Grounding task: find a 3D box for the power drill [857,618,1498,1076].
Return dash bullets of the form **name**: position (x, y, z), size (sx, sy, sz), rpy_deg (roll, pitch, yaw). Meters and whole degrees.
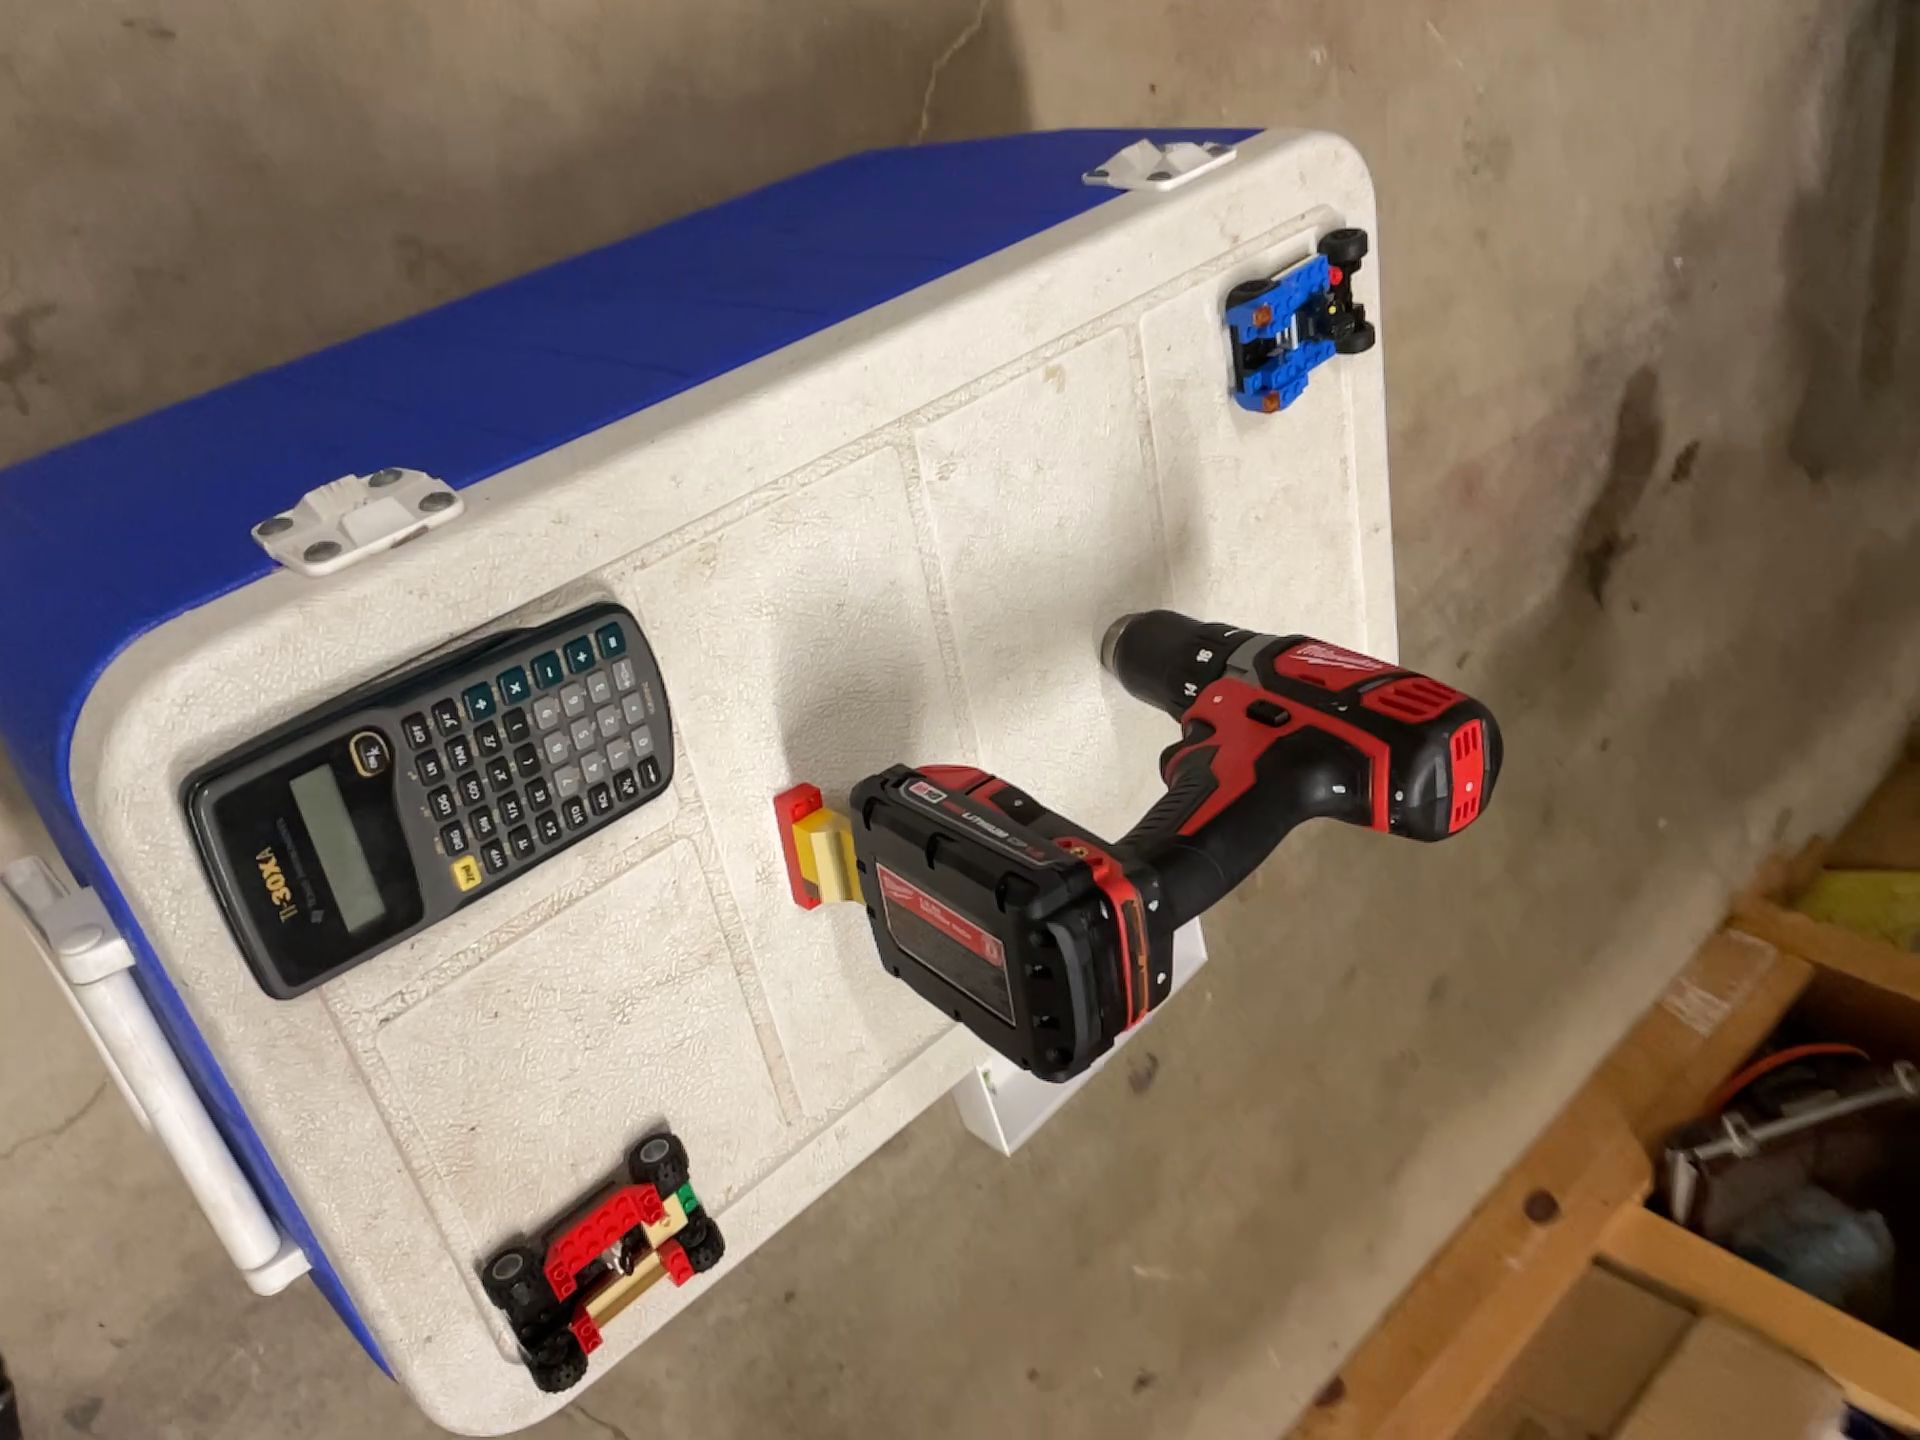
- **power drill**: position (0.070, 0.025, 0.627), size (0.227, 0.188, 0.080), rpy_deg (-26, 121, -29)
